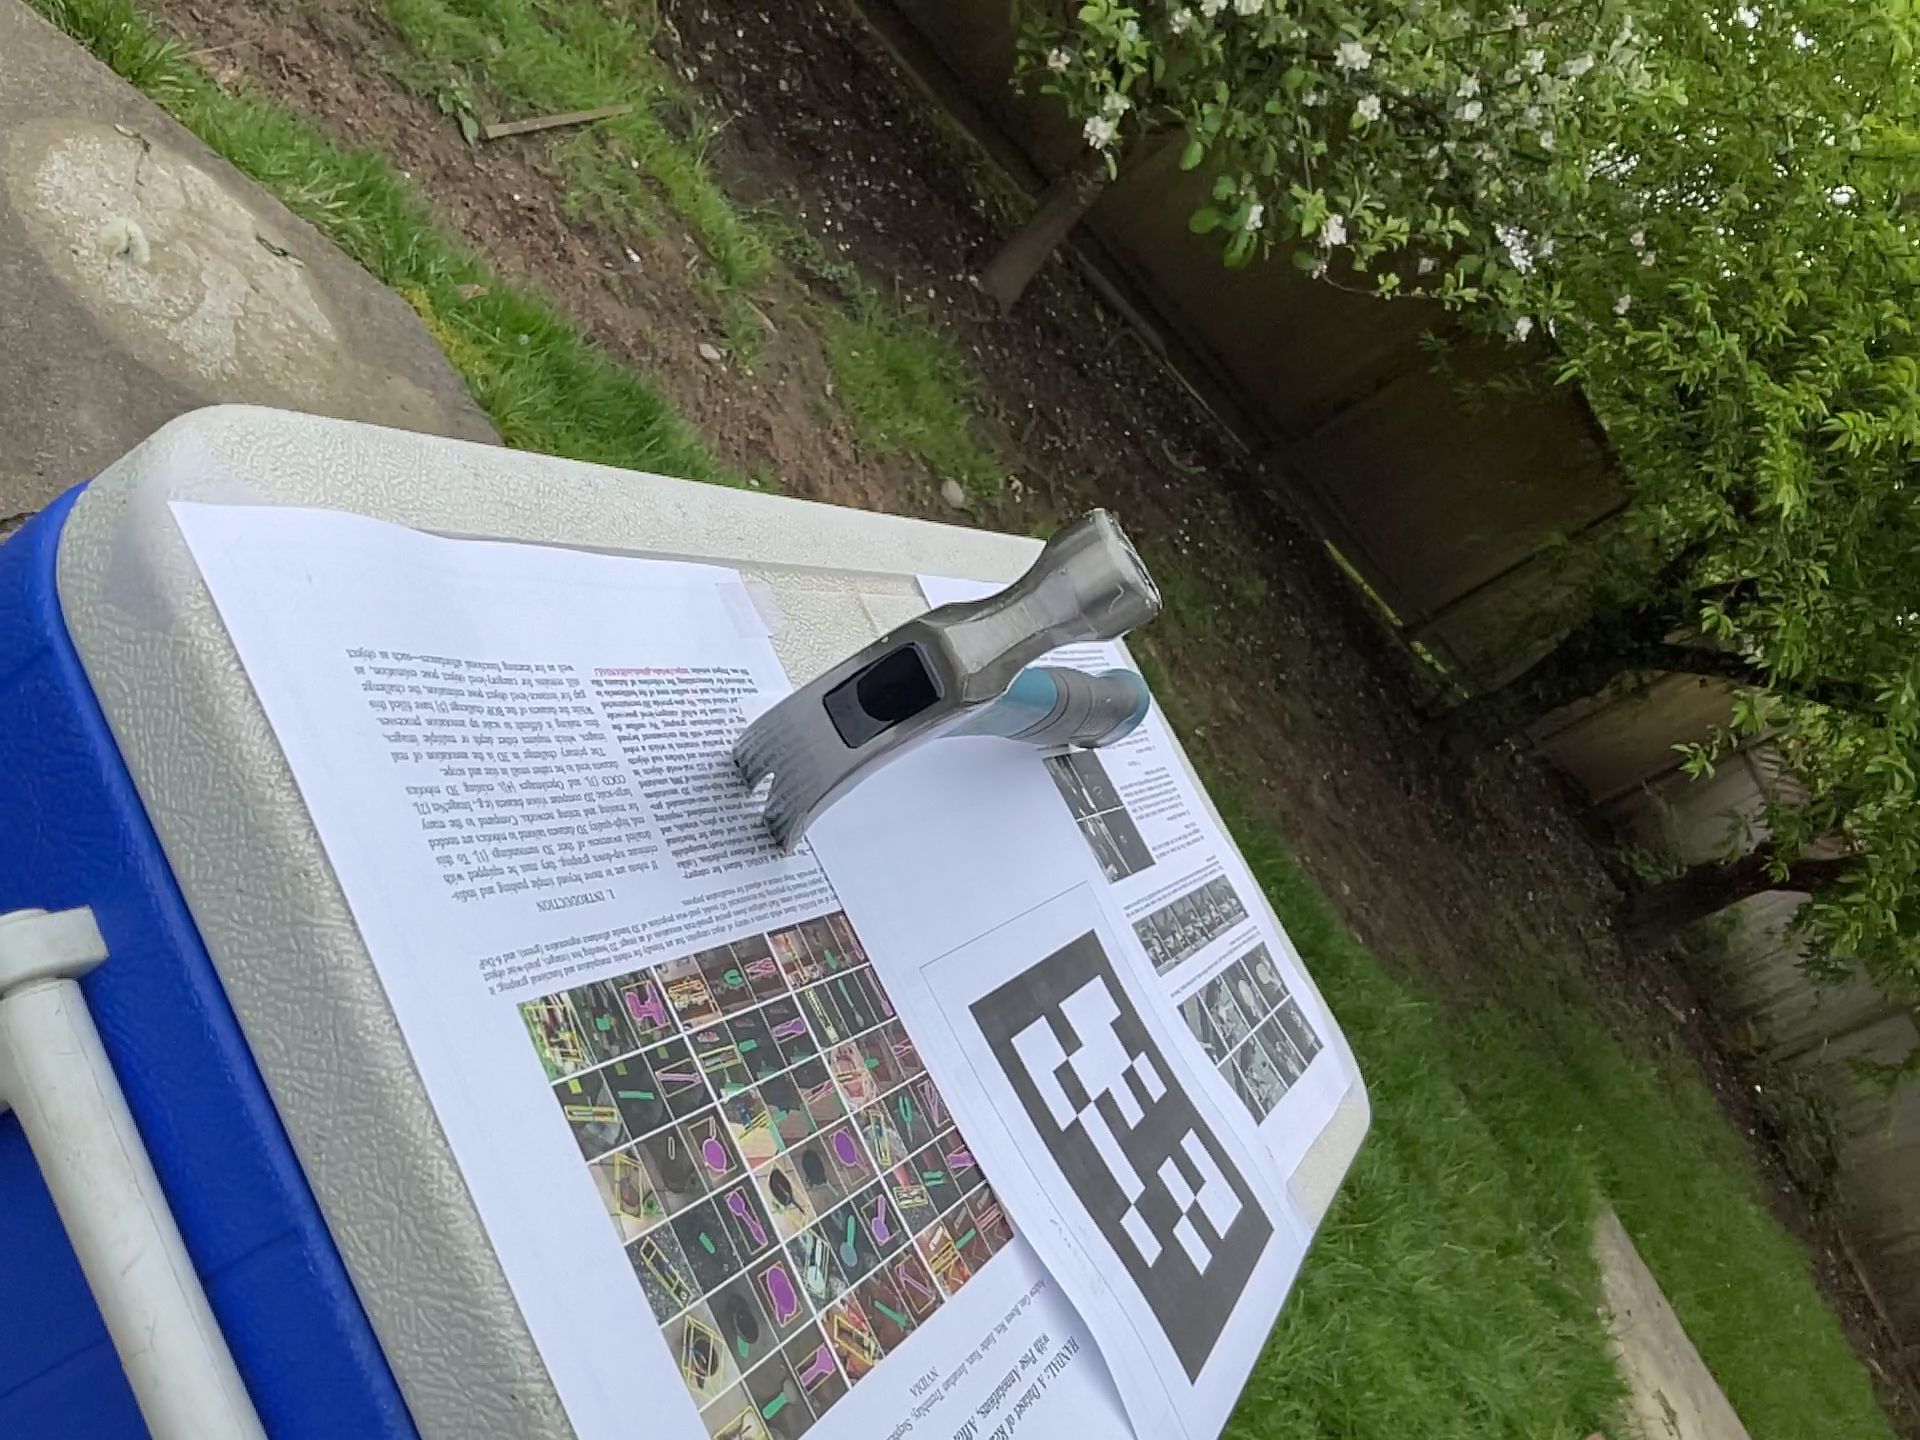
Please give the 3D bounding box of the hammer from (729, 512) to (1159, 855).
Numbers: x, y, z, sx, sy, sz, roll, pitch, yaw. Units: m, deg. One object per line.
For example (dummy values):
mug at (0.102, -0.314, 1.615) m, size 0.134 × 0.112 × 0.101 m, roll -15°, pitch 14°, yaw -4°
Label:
hammer at (0.023, -0.006, 0.538) m, size 0.033 × 0.128 × 0.331 m, roll 63°, pitch 12°, yaw 7°
